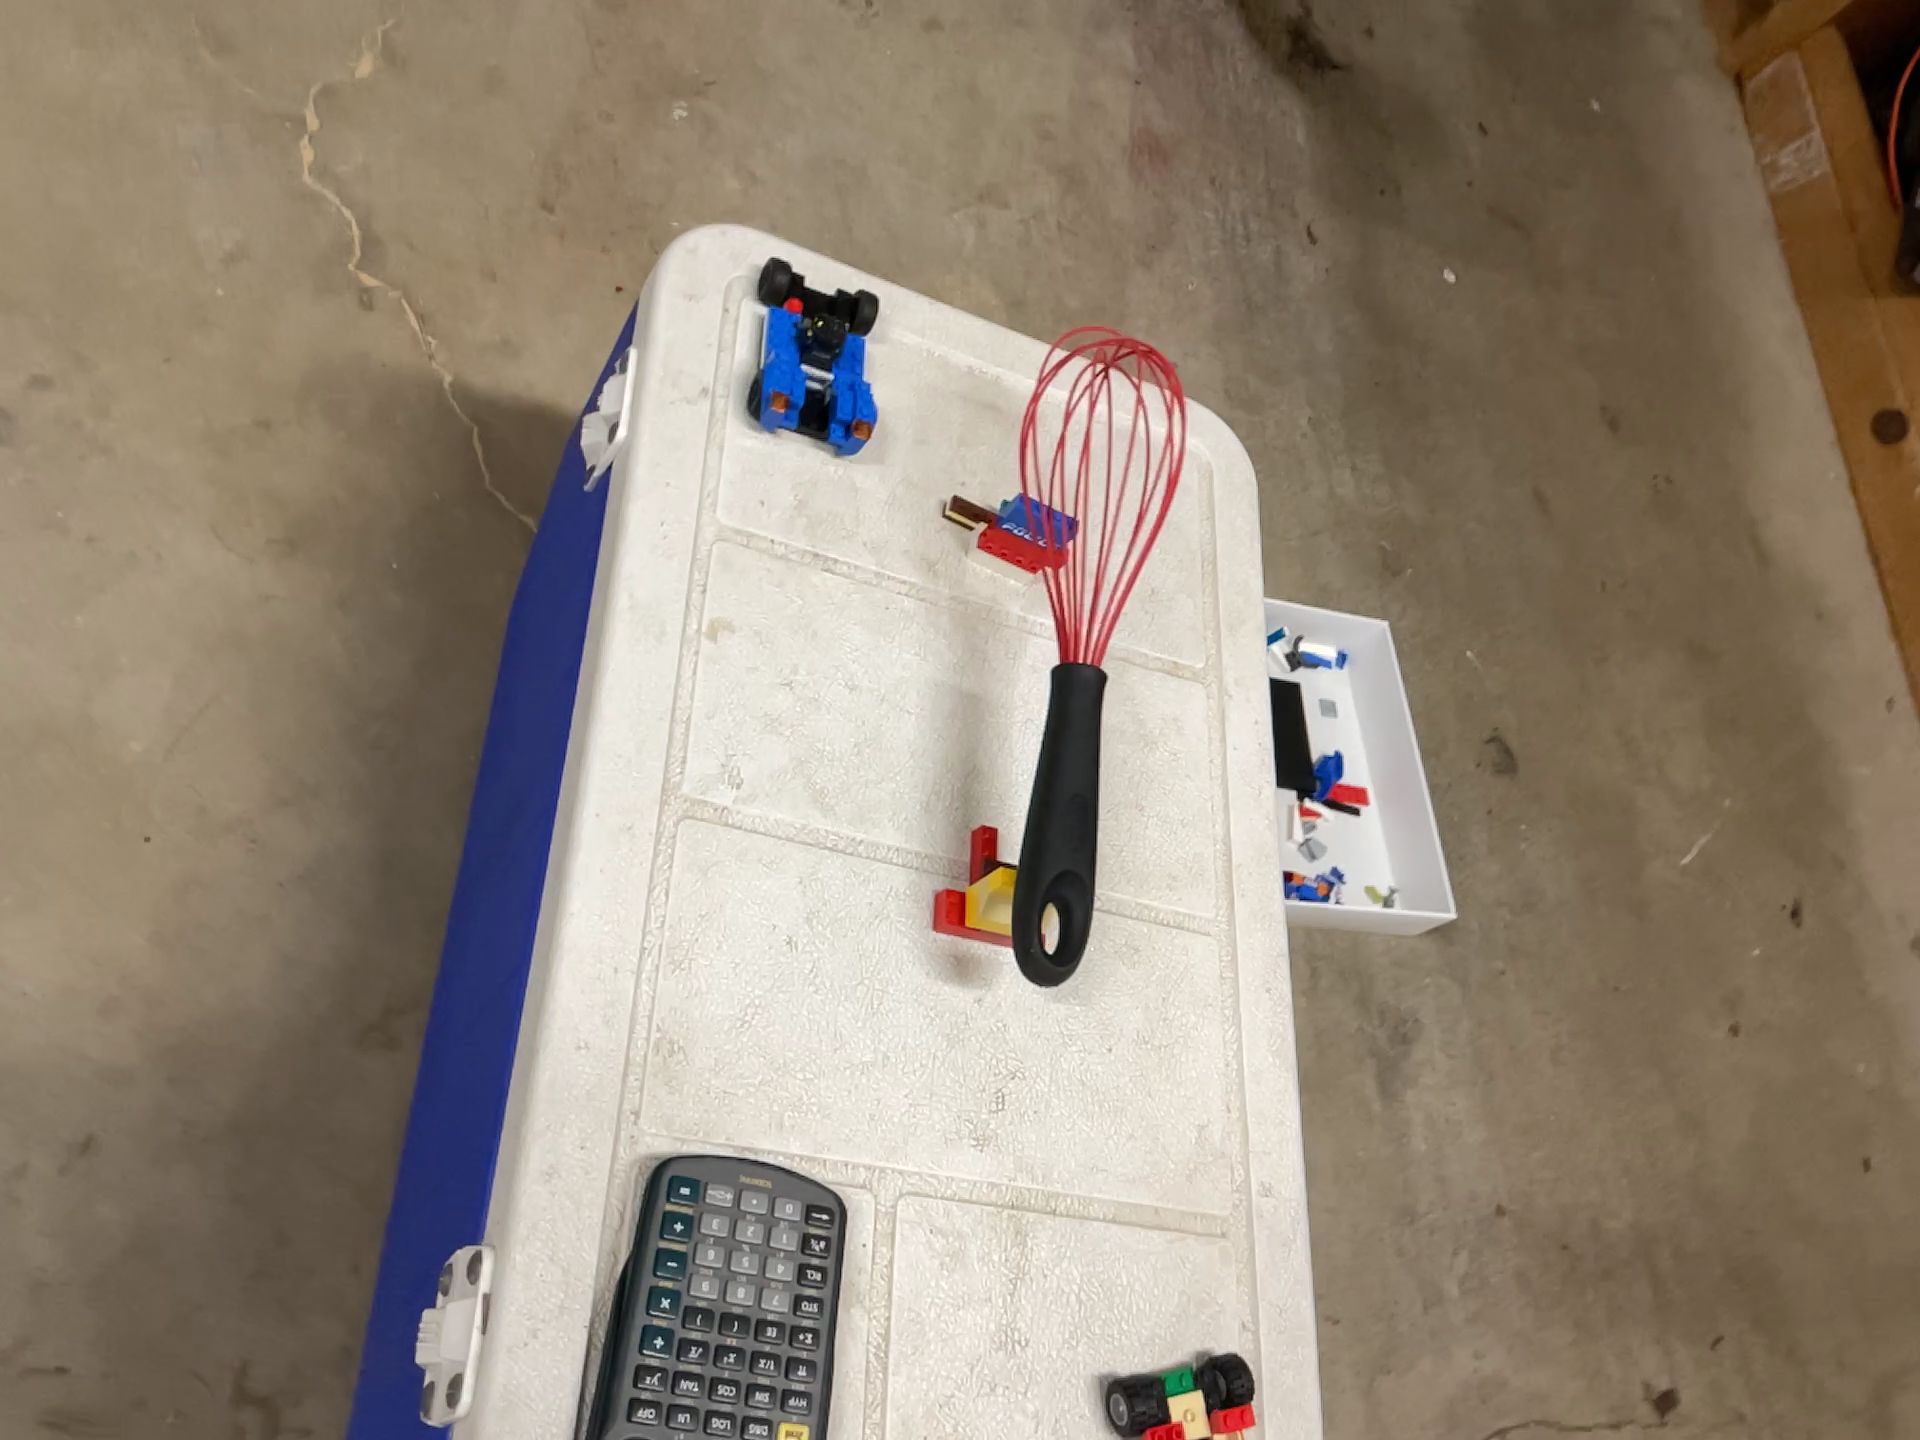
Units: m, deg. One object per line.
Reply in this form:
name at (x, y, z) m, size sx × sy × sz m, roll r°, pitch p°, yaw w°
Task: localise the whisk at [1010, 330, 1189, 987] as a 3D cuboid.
whisk at (0.052, -0.036, 0.660) m, size 0.073 × 0.073 × 0.296 m, roll 19°, pitch 67°, yaw -26°
